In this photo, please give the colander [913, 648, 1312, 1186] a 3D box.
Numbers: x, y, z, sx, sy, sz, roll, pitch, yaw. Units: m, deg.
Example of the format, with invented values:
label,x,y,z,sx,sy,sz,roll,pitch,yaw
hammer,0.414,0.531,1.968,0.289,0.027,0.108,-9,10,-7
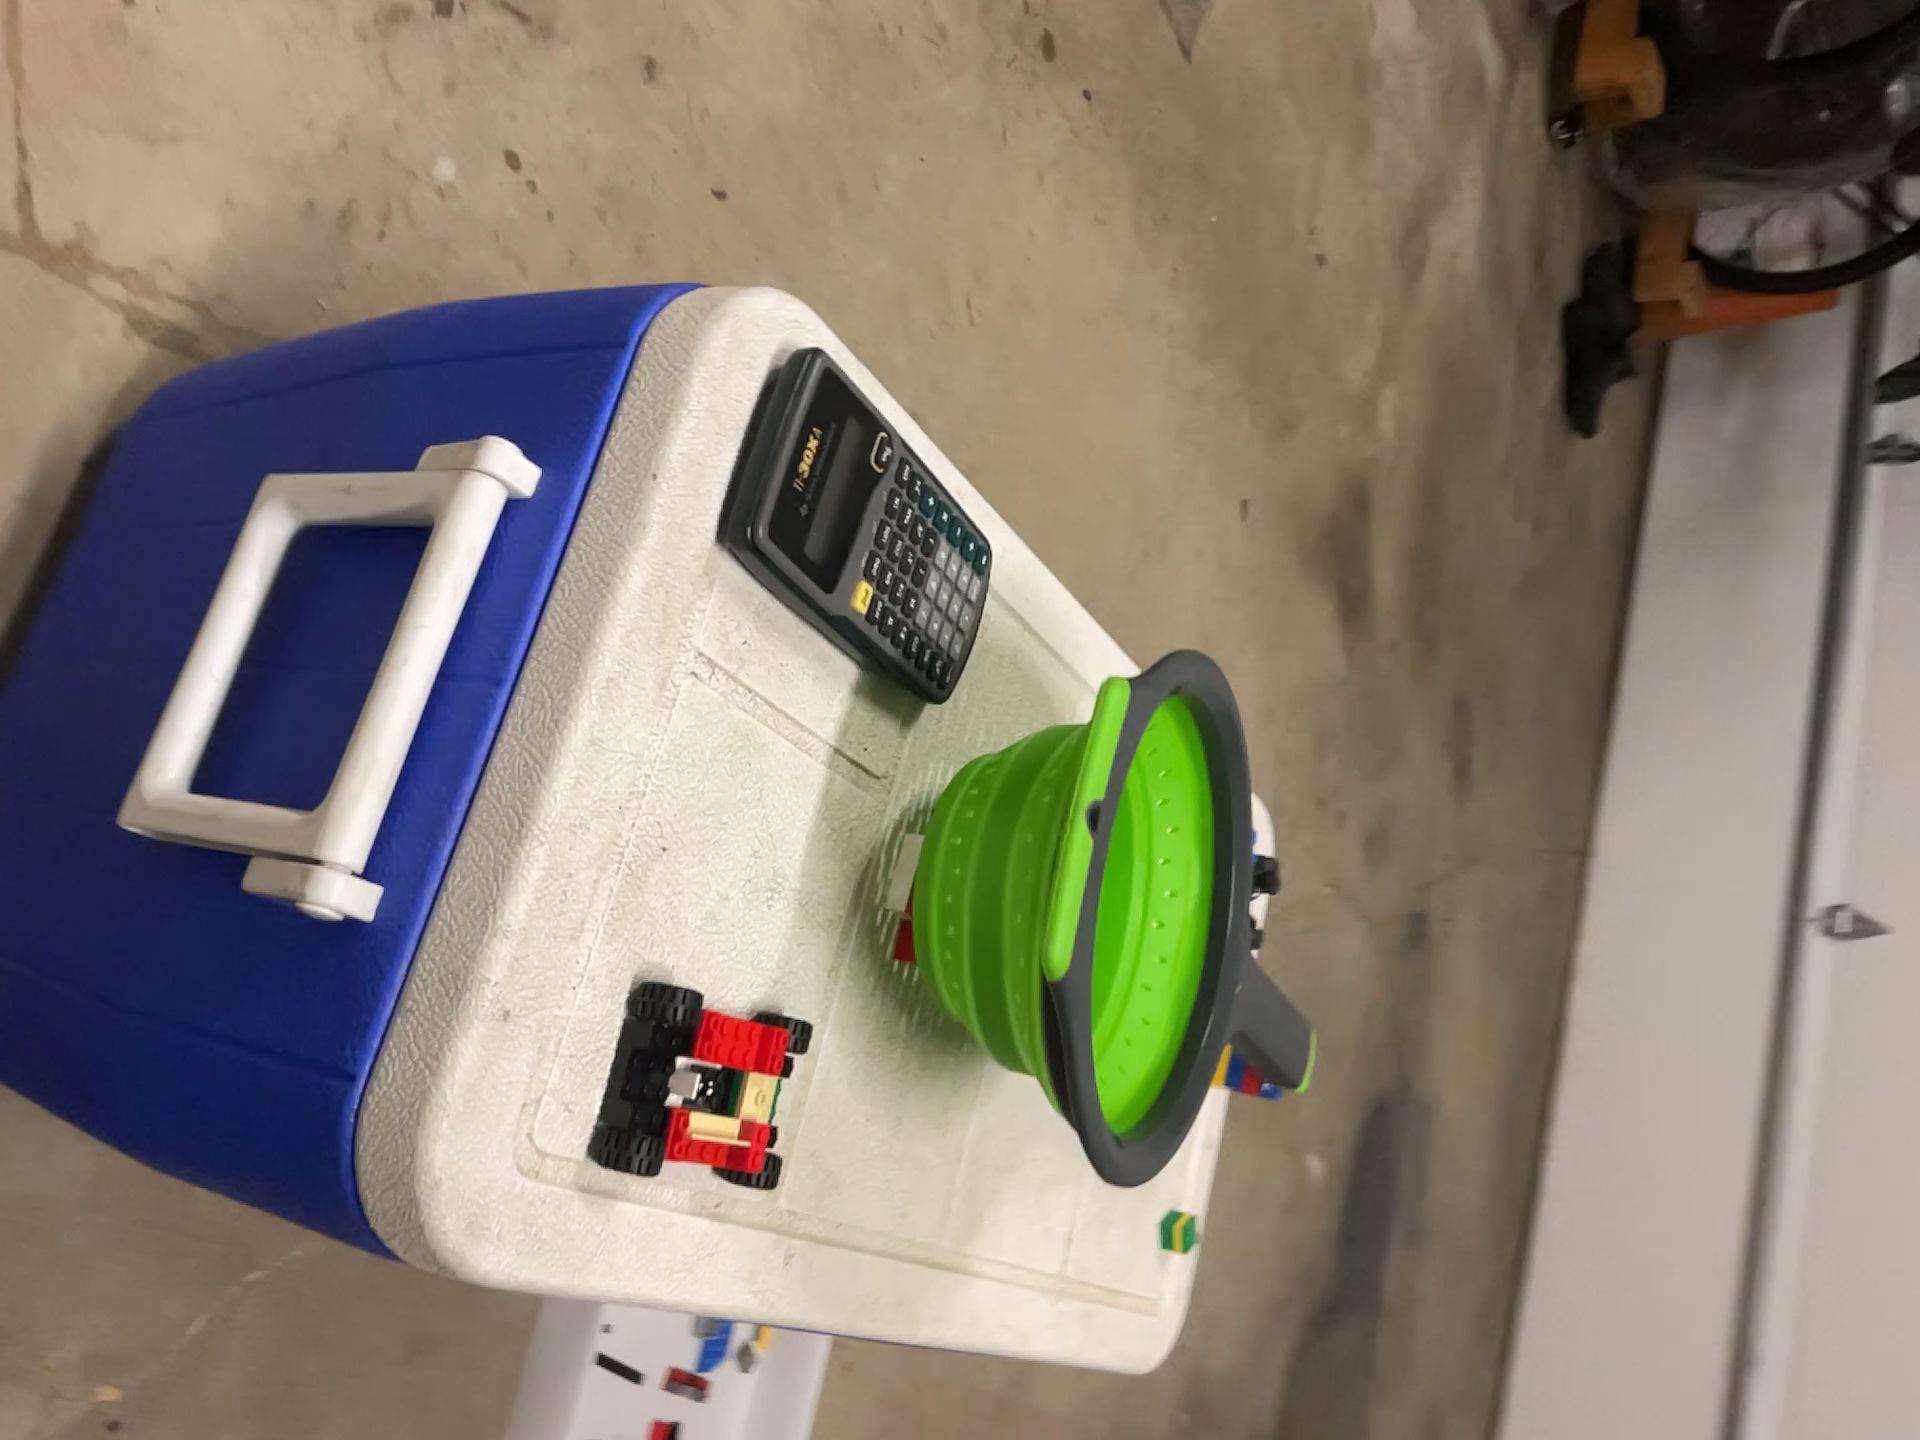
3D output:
label,x,y,z,sx,sy,sz,roll,pitch,yaw
colander,0.075,0.104,0.699,0.396,0.094,0.205,47,52,-57
